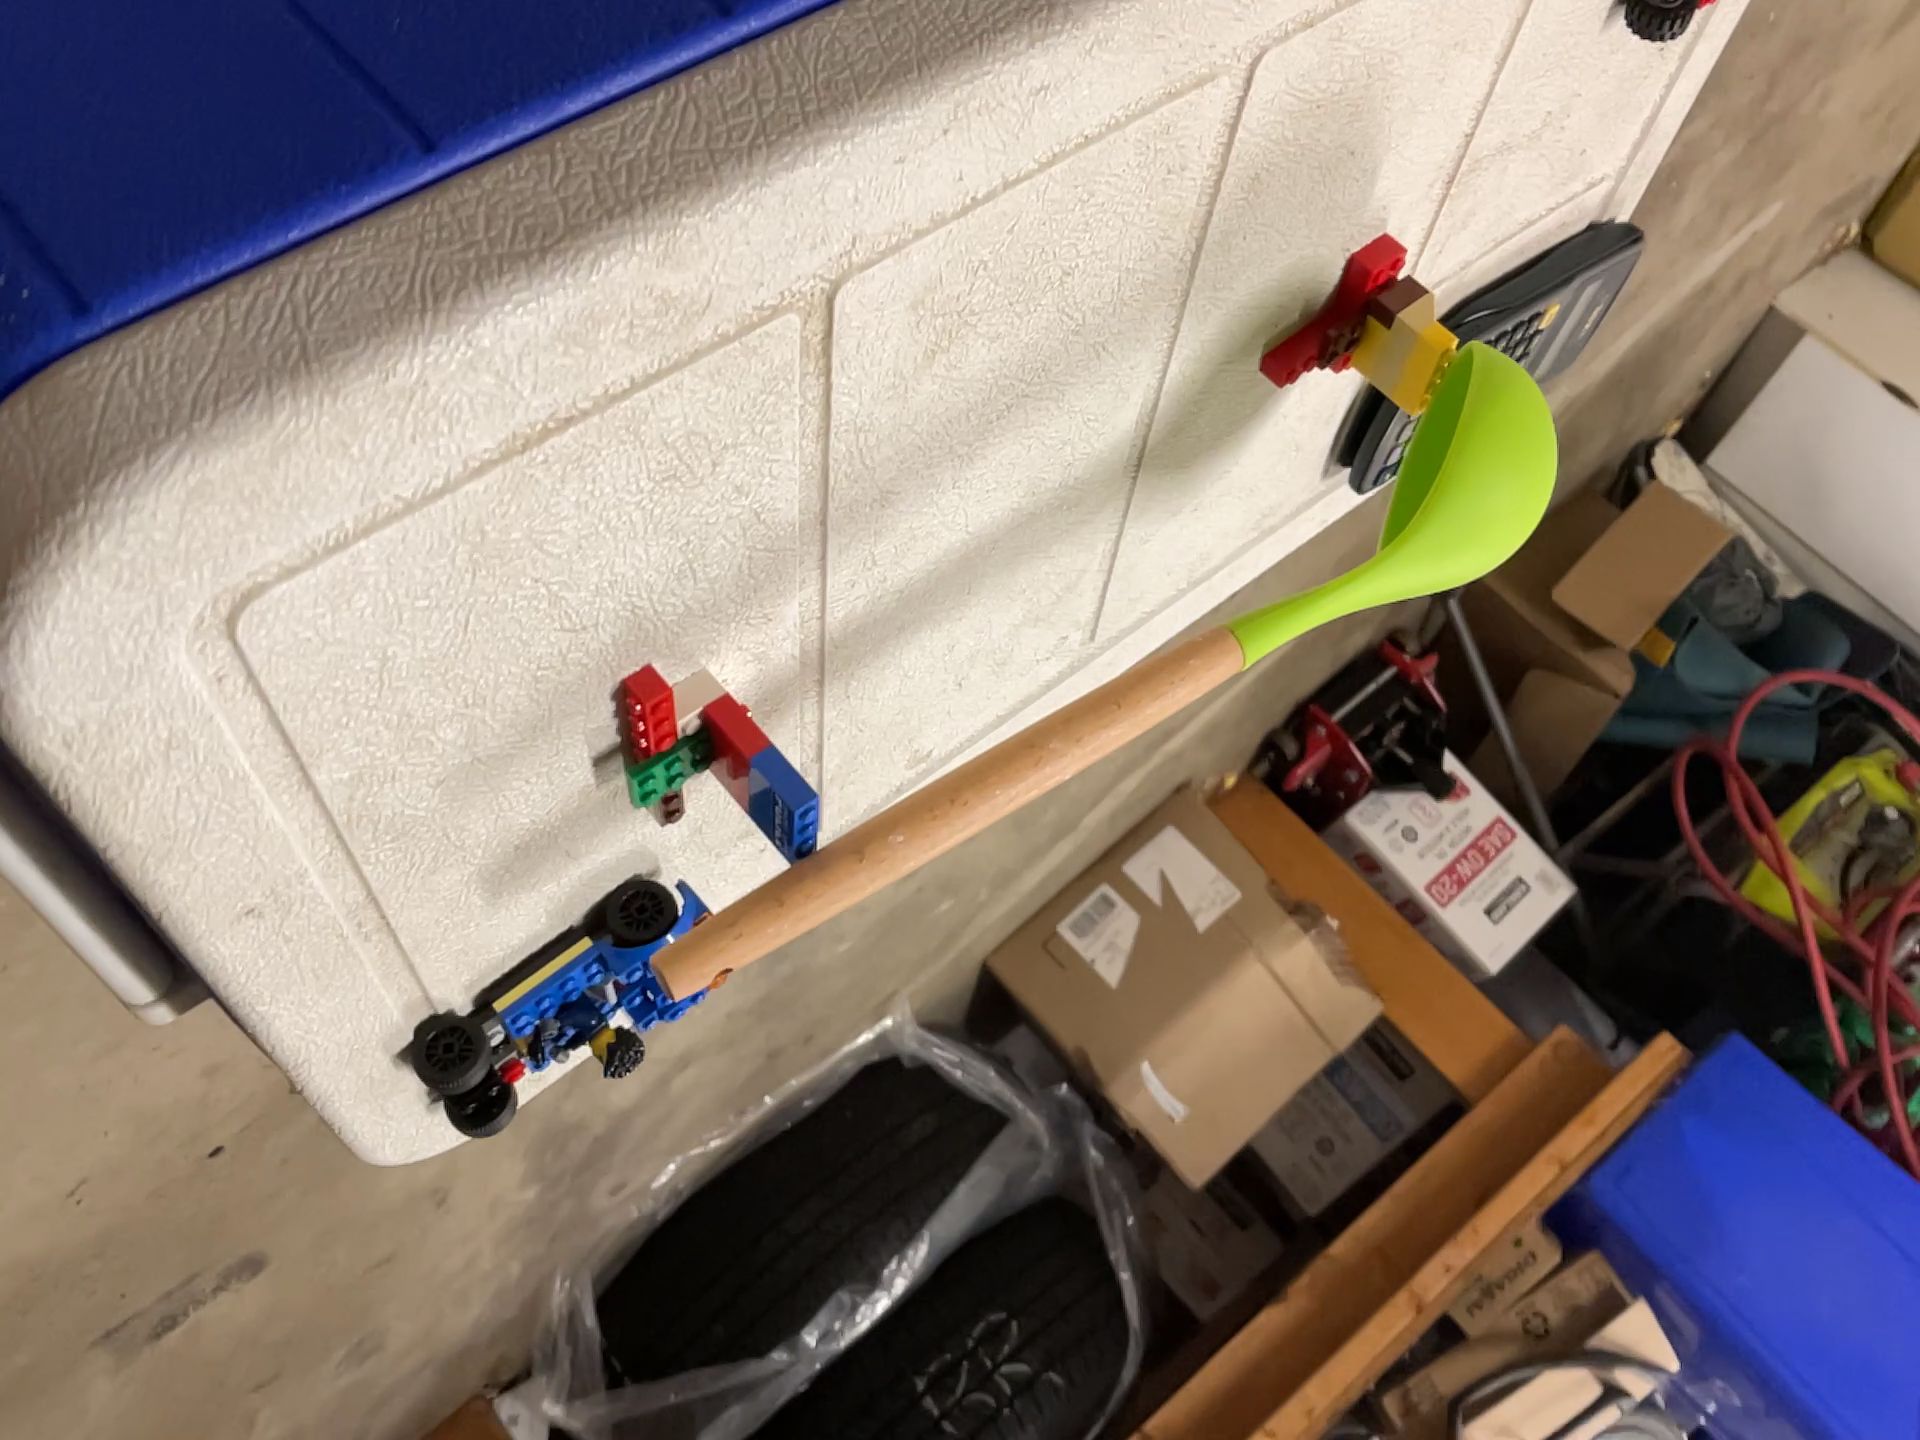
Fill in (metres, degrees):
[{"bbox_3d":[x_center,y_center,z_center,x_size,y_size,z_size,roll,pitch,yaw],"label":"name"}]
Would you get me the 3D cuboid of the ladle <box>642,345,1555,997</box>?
[{"bbox_3d":[0.049,-0.019,0.454,0.320,0.062,0.078,-29,162,-20],"label":"ladle"}]
